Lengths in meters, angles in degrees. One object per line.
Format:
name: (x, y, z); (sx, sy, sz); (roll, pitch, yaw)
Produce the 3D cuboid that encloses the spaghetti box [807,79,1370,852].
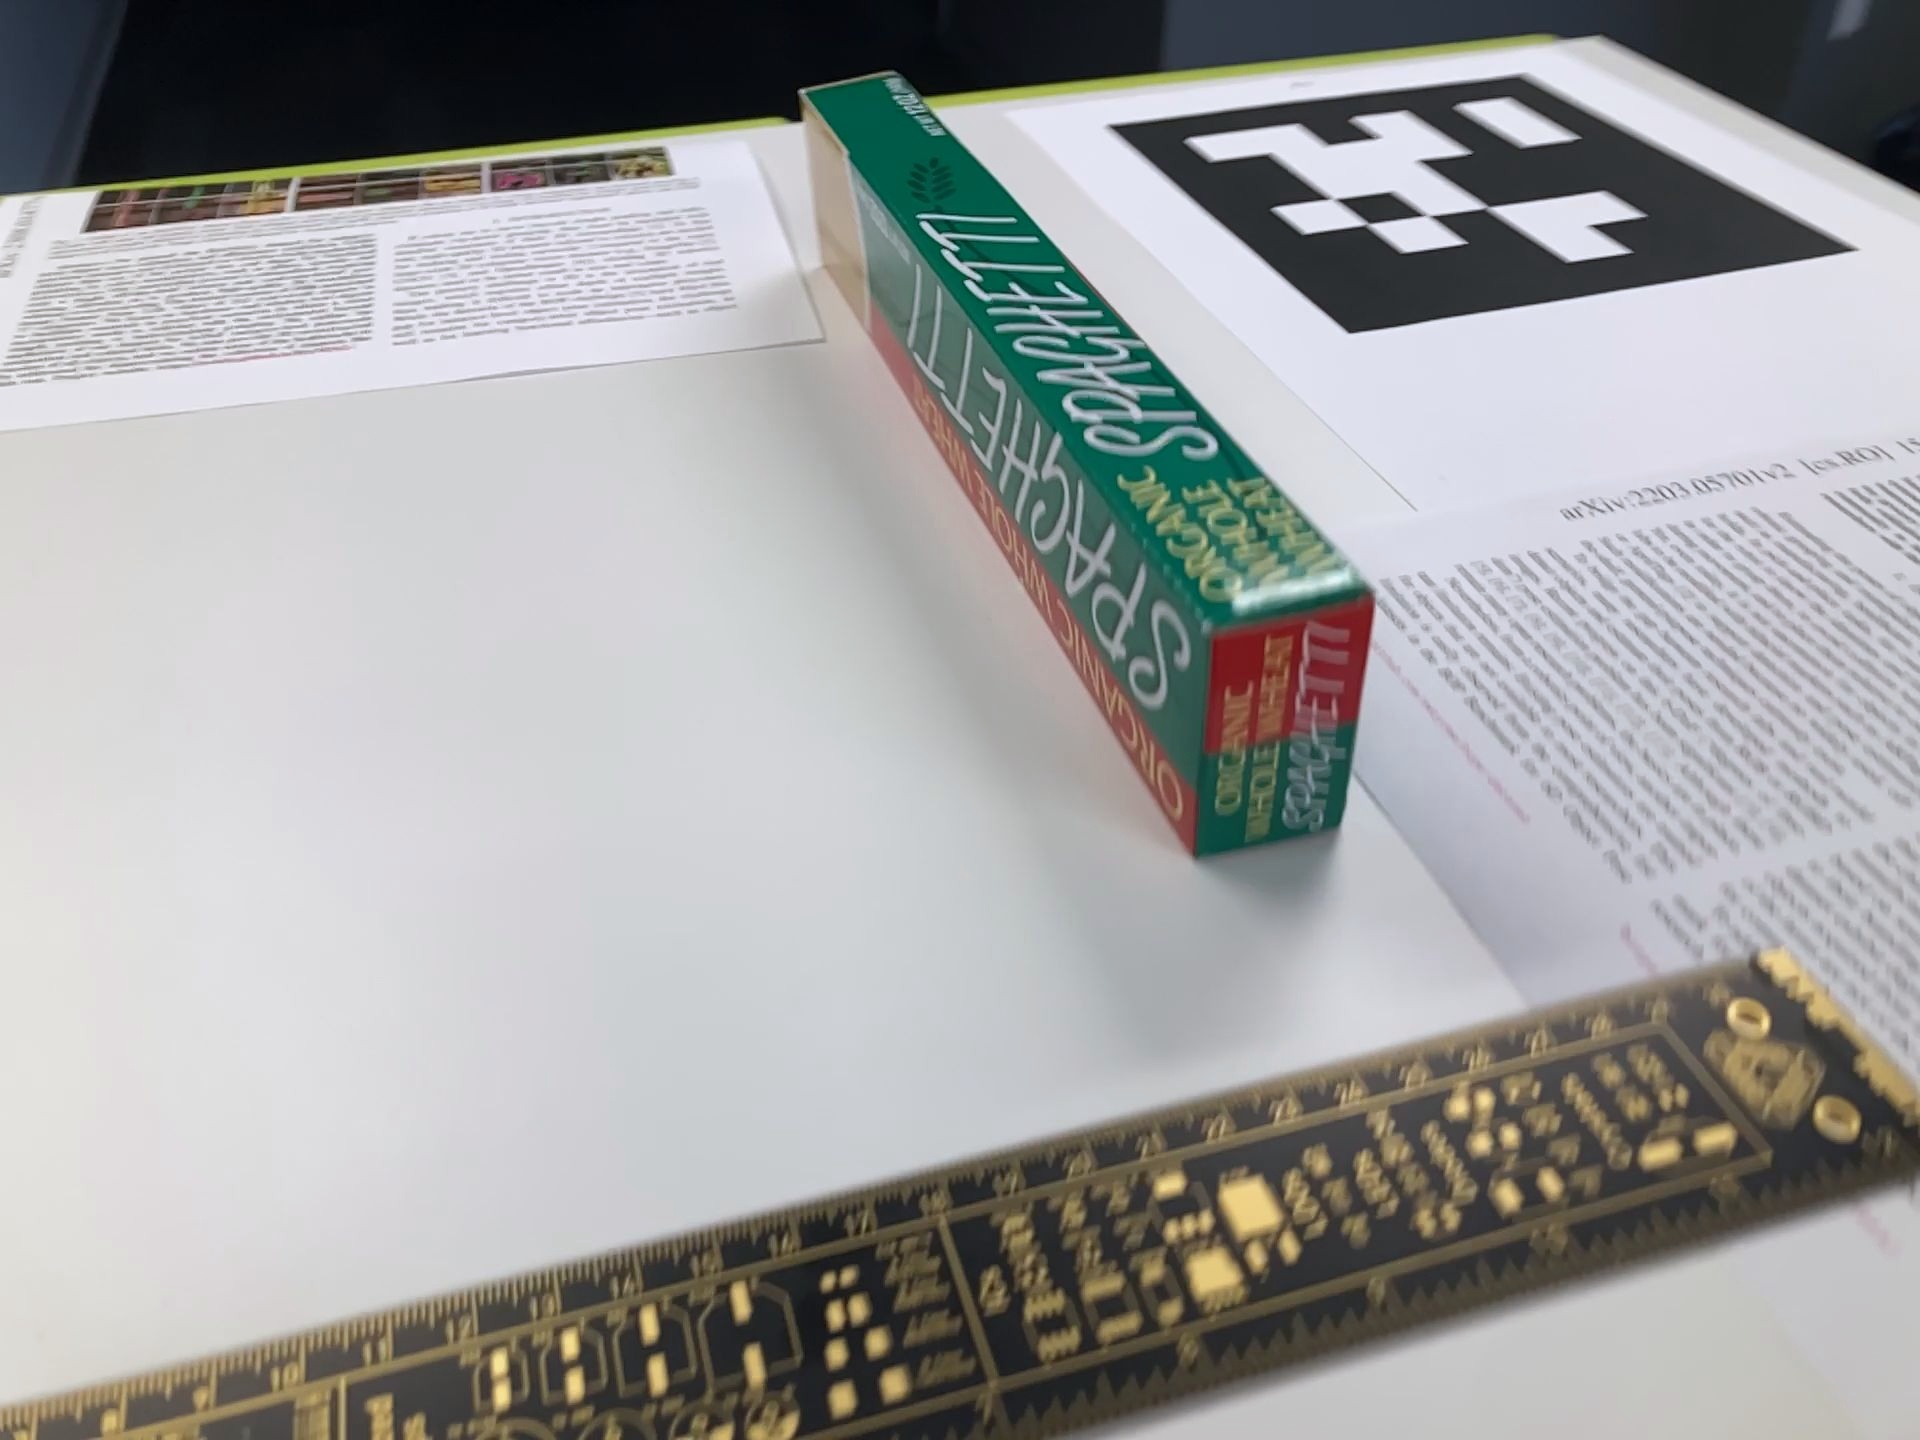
spaghetti box: (0.013, -0.072, 0.338); (0.028, 0.050, 0.250); (-15, 42, -11)
